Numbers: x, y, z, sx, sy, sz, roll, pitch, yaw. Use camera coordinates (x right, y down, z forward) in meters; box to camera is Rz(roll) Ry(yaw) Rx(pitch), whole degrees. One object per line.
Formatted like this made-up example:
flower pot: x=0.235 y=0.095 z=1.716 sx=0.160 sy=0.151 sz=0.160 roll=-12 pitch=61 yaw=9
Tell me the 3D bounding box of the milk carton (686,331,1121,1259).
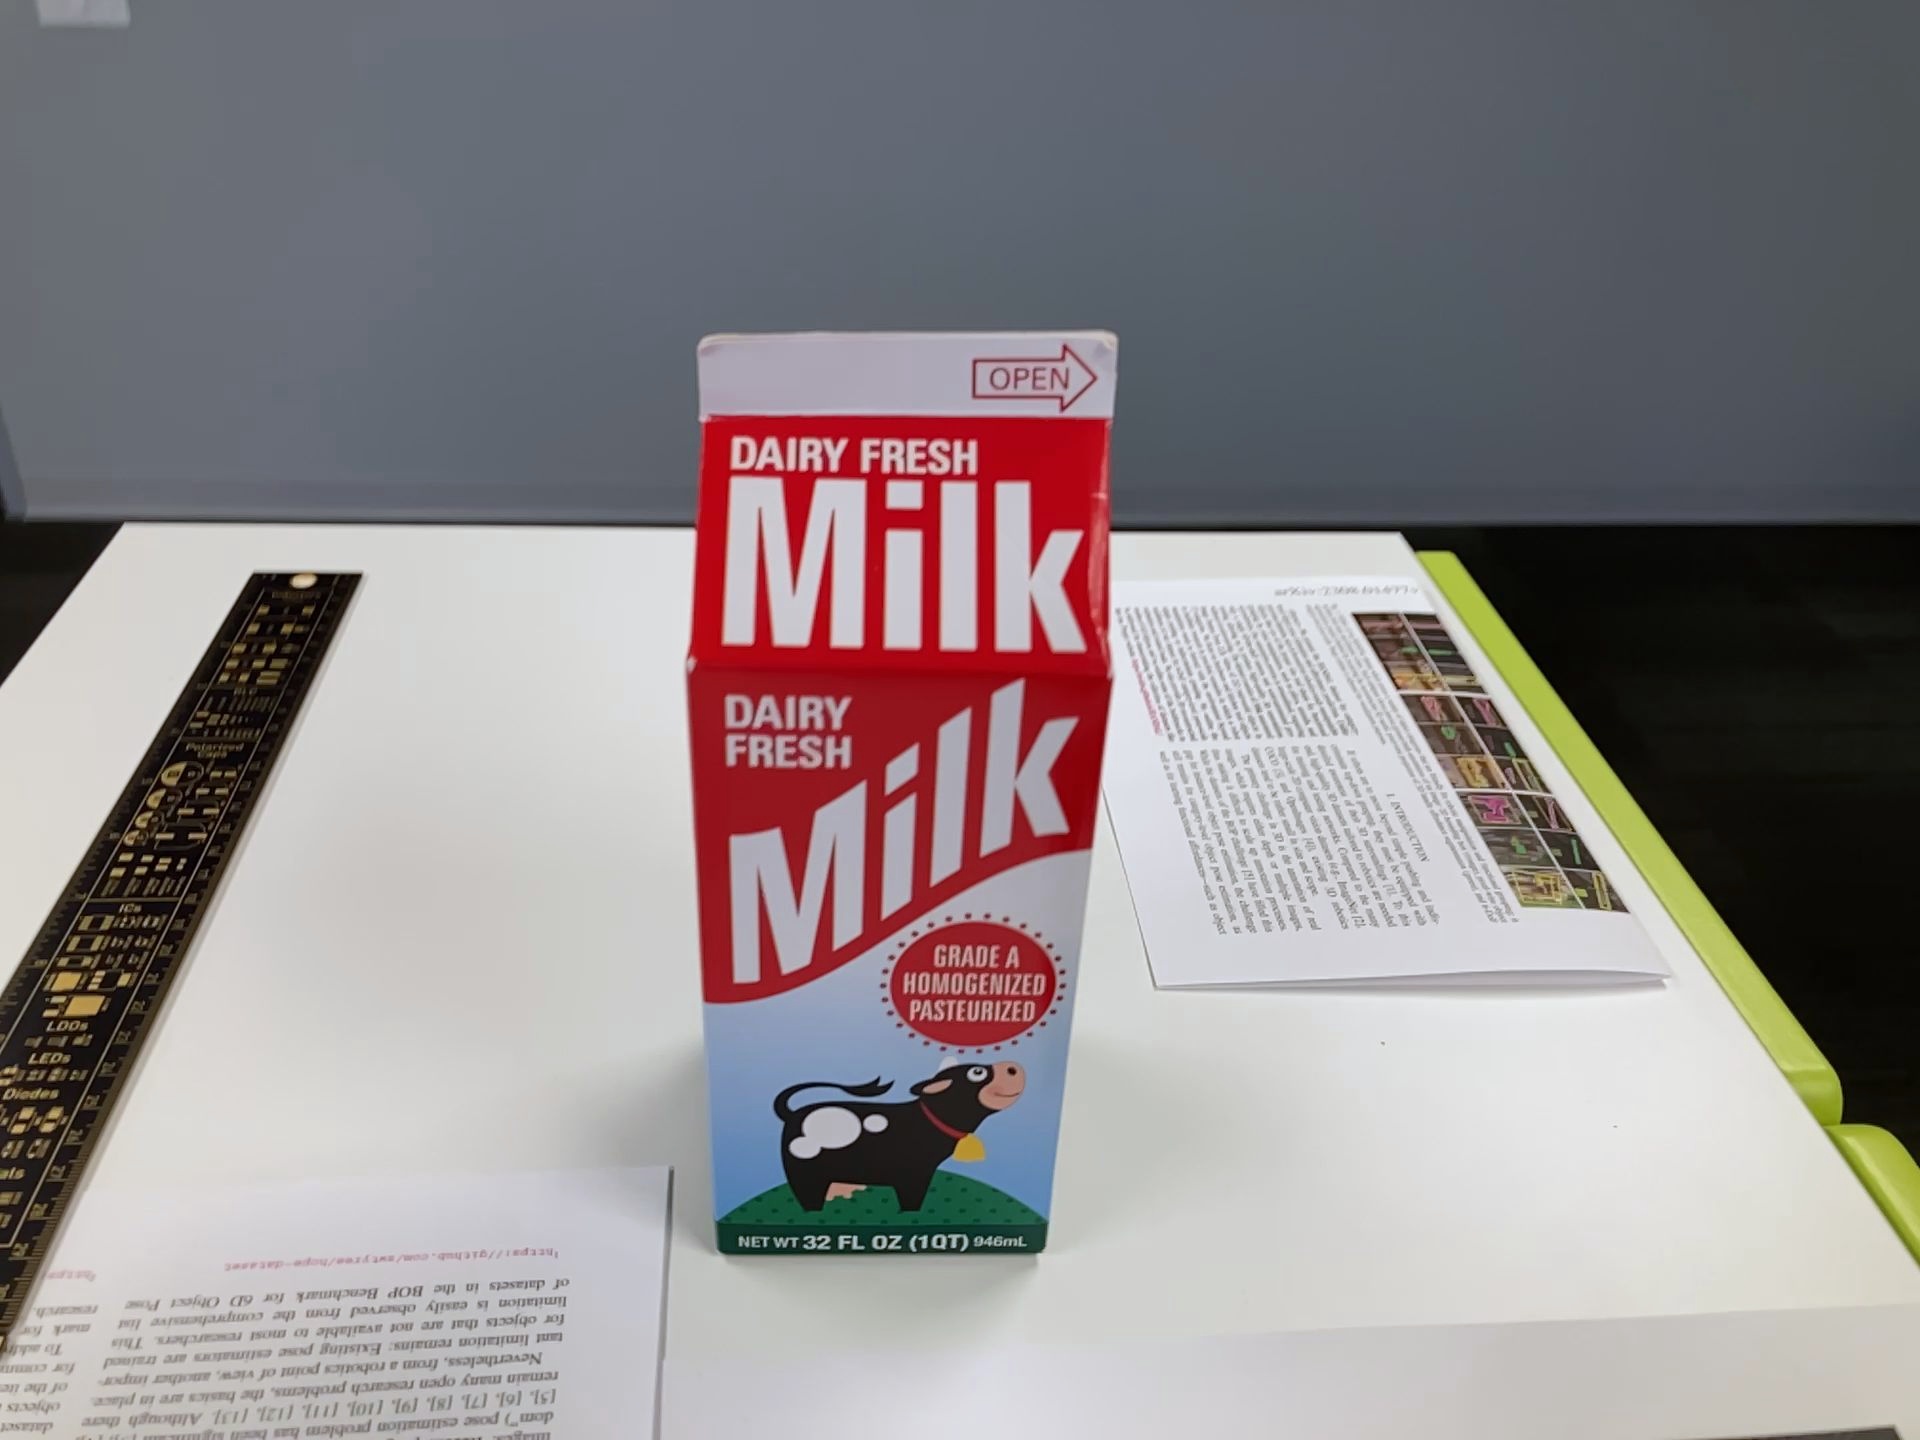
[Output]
milk carton: x=-0.013 y=0.016 z=0.313 sx=0.072 sy=0.190 sz=0.073 roll=1 pitch=34 yaw=-3
